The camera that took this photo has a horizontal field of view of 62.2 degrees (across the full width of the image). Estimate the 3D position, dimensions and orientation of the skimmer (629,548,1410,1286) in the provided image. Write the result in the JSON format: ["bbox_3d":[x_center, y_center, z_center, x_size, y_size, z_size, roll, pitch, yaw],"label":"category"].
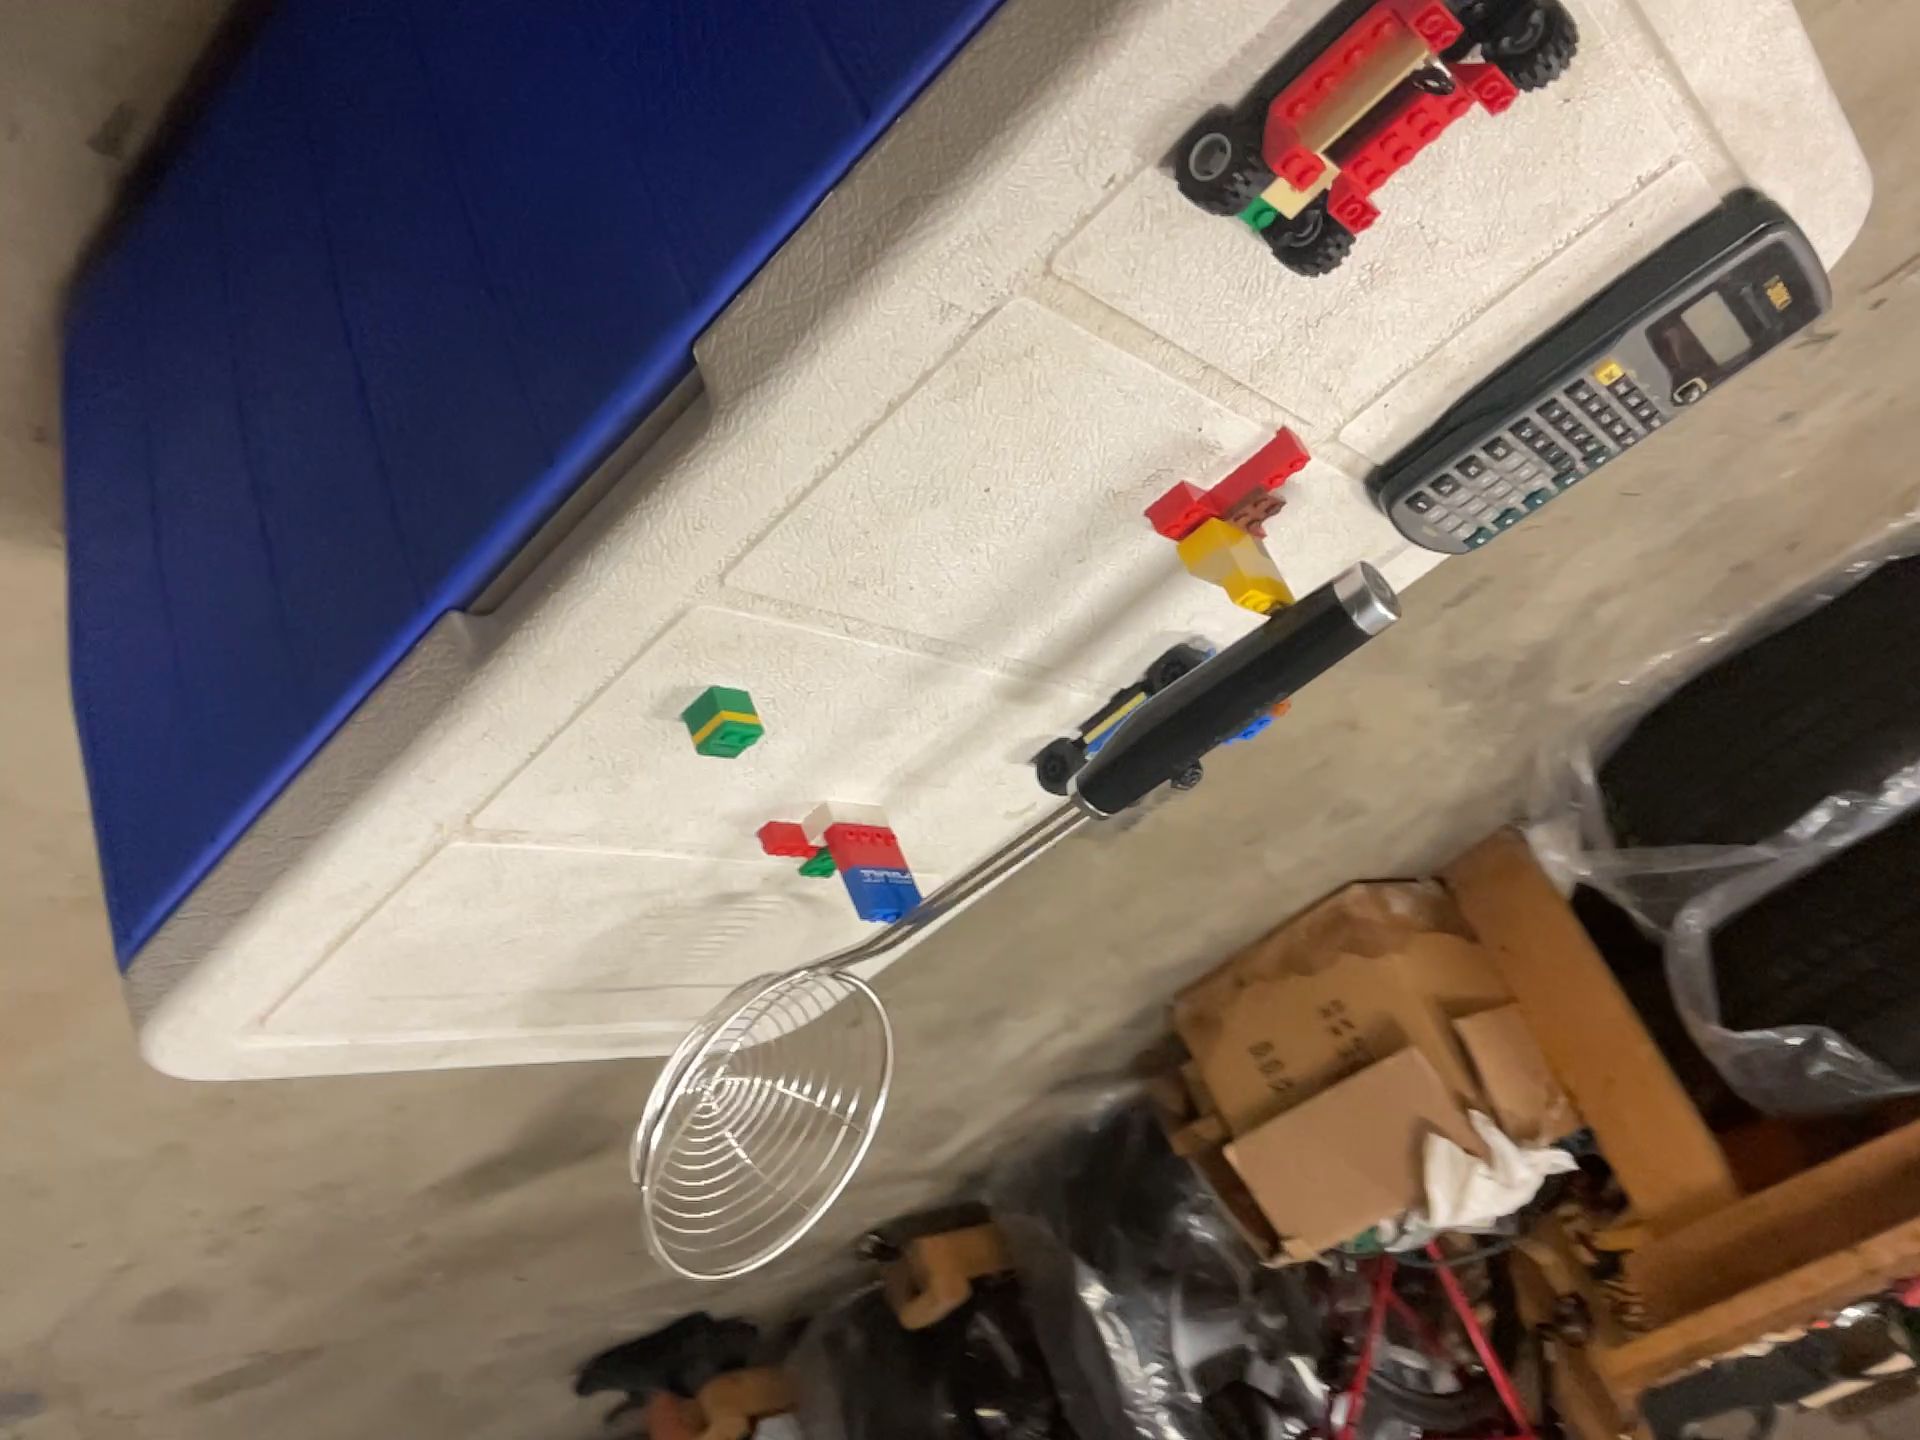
[{"bbox_3d":[0.016,0.082,0.550,0.363,0.090,0.127,-39,153,28],"label":"skimmer"}]
